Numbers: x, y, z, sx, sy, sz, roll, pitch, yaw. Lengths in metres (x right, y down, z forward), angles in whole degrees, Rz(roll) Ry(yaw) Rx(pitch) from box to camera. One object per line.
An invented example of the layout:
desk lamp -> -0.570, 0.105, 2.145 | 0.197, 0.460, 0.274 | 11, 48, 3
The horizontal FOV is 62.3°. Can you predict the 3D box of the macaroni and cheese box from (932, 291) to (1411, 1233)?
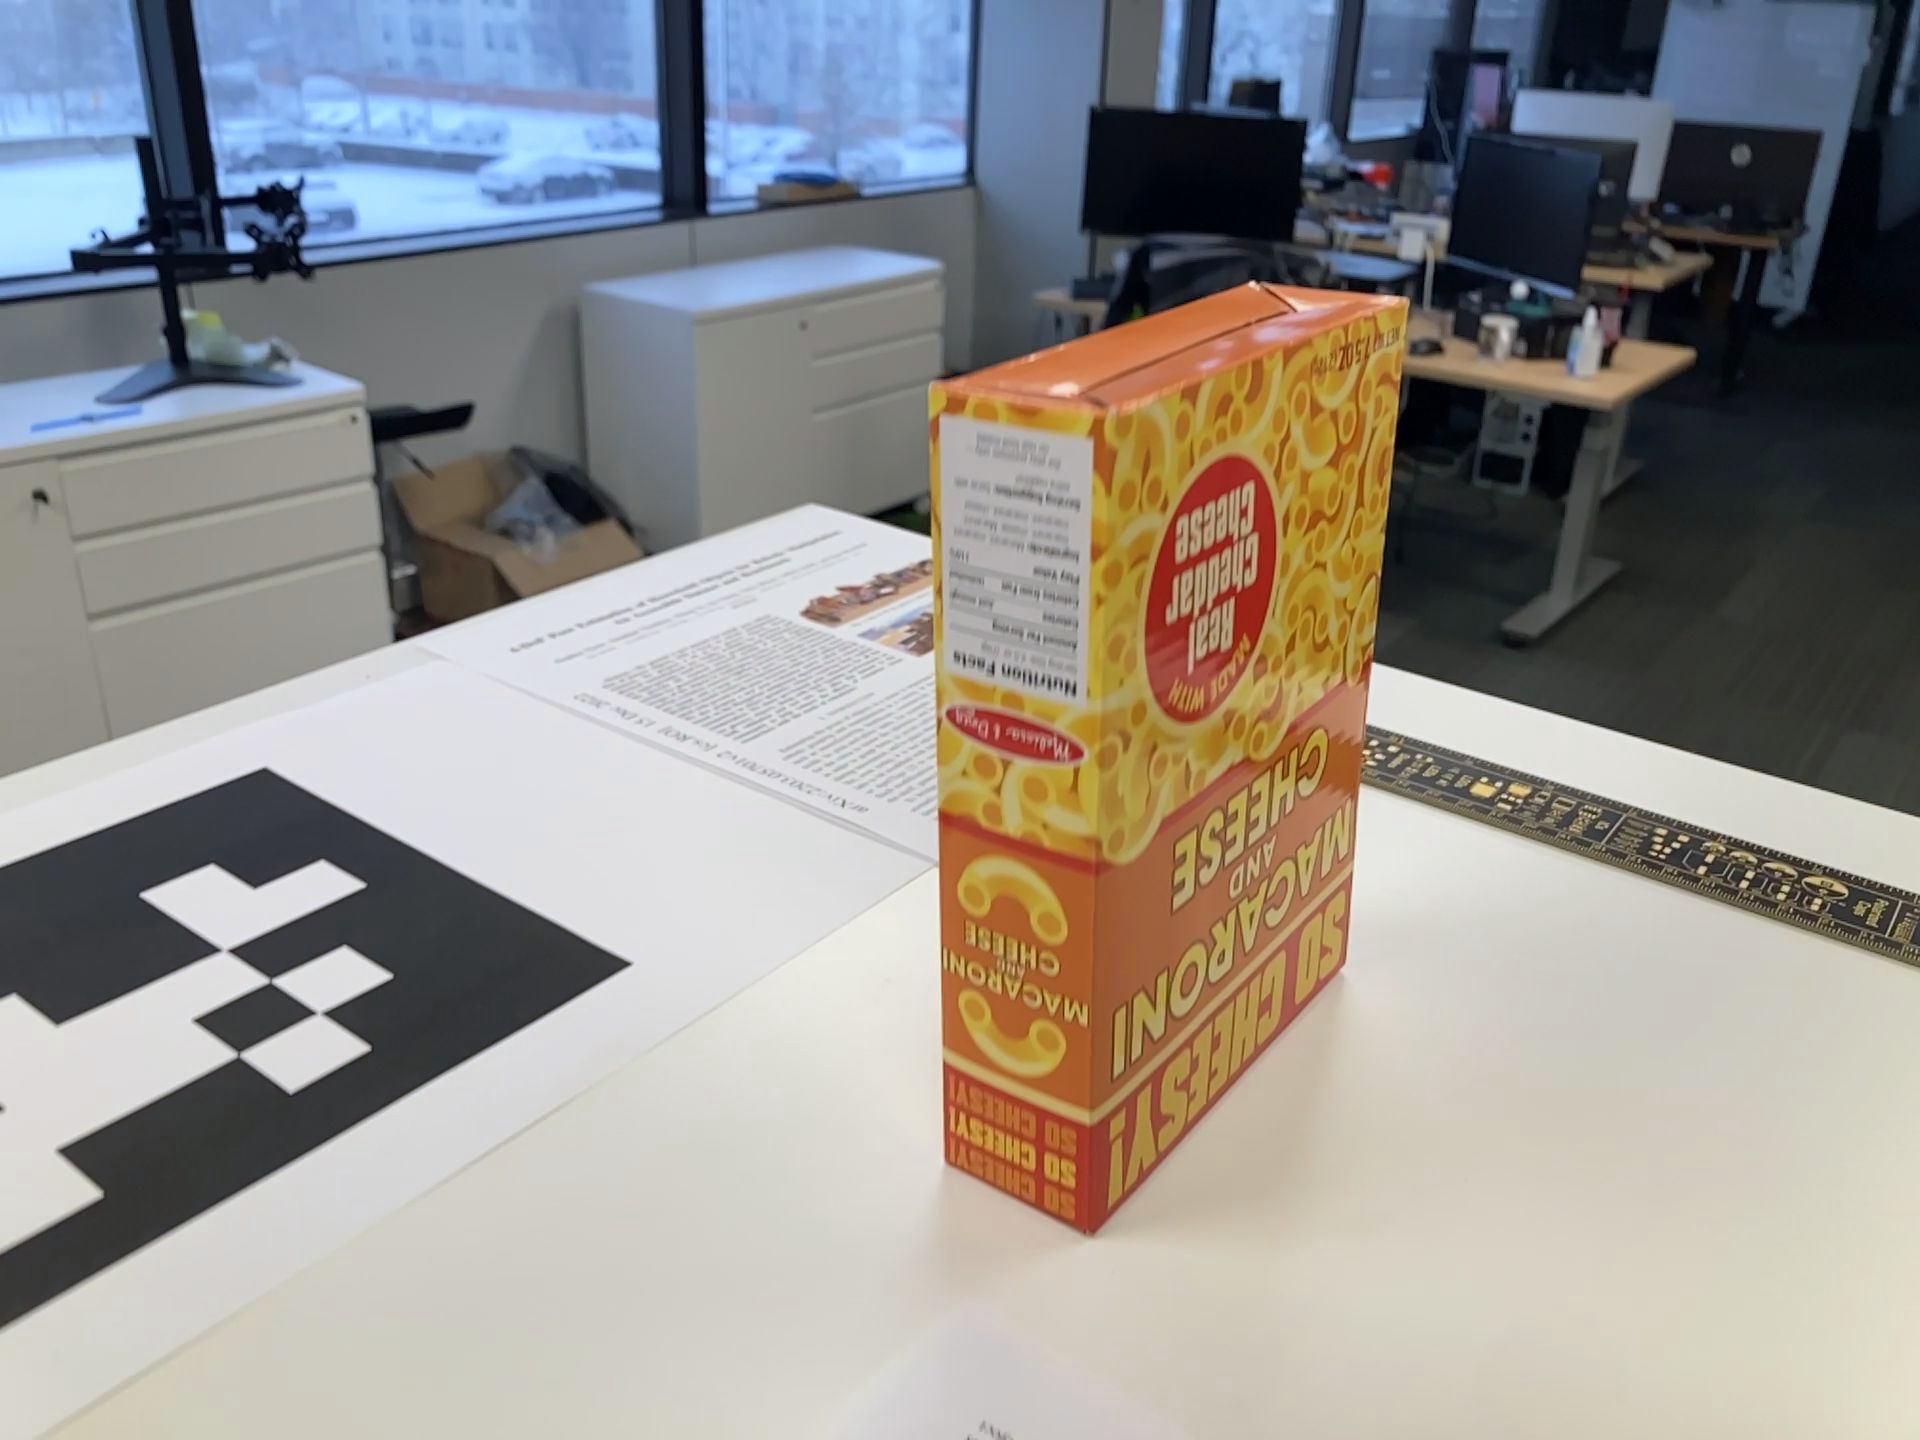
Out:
macaroni and cheese box -> 0.047, 0.003, 0.339 | 0.040, 0.166, 0.124 | 16, 29, 34
